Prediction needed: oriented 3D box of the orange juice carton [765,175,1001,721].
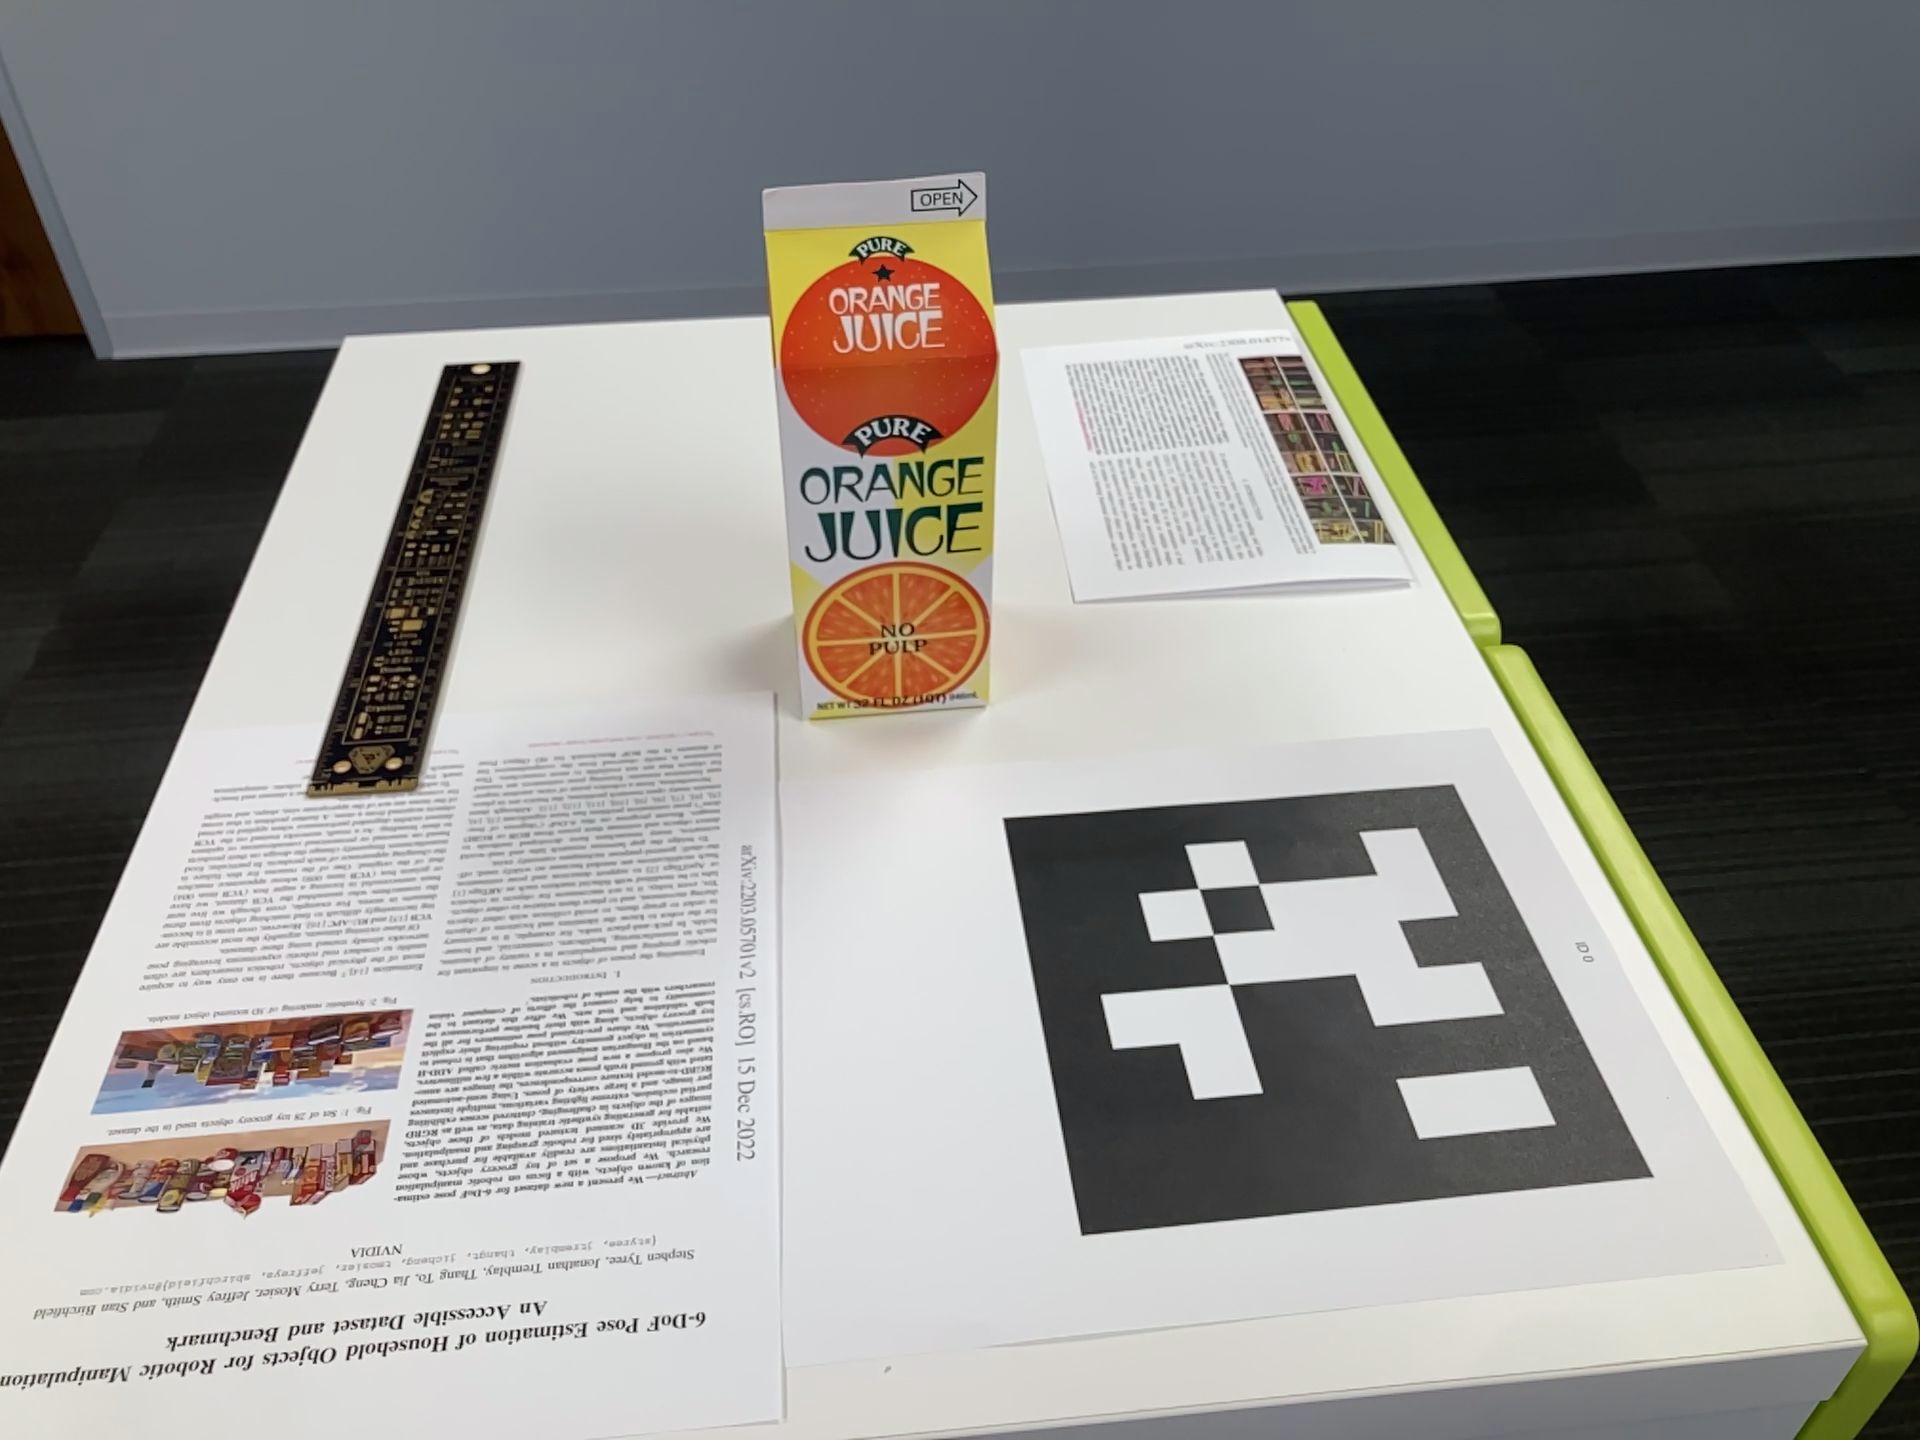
[{"bbox_3d":[-0.027,-0.095,0.557,0.072,0.192,0.073,-4,42,-6],"label":"orange juice carton"}]
